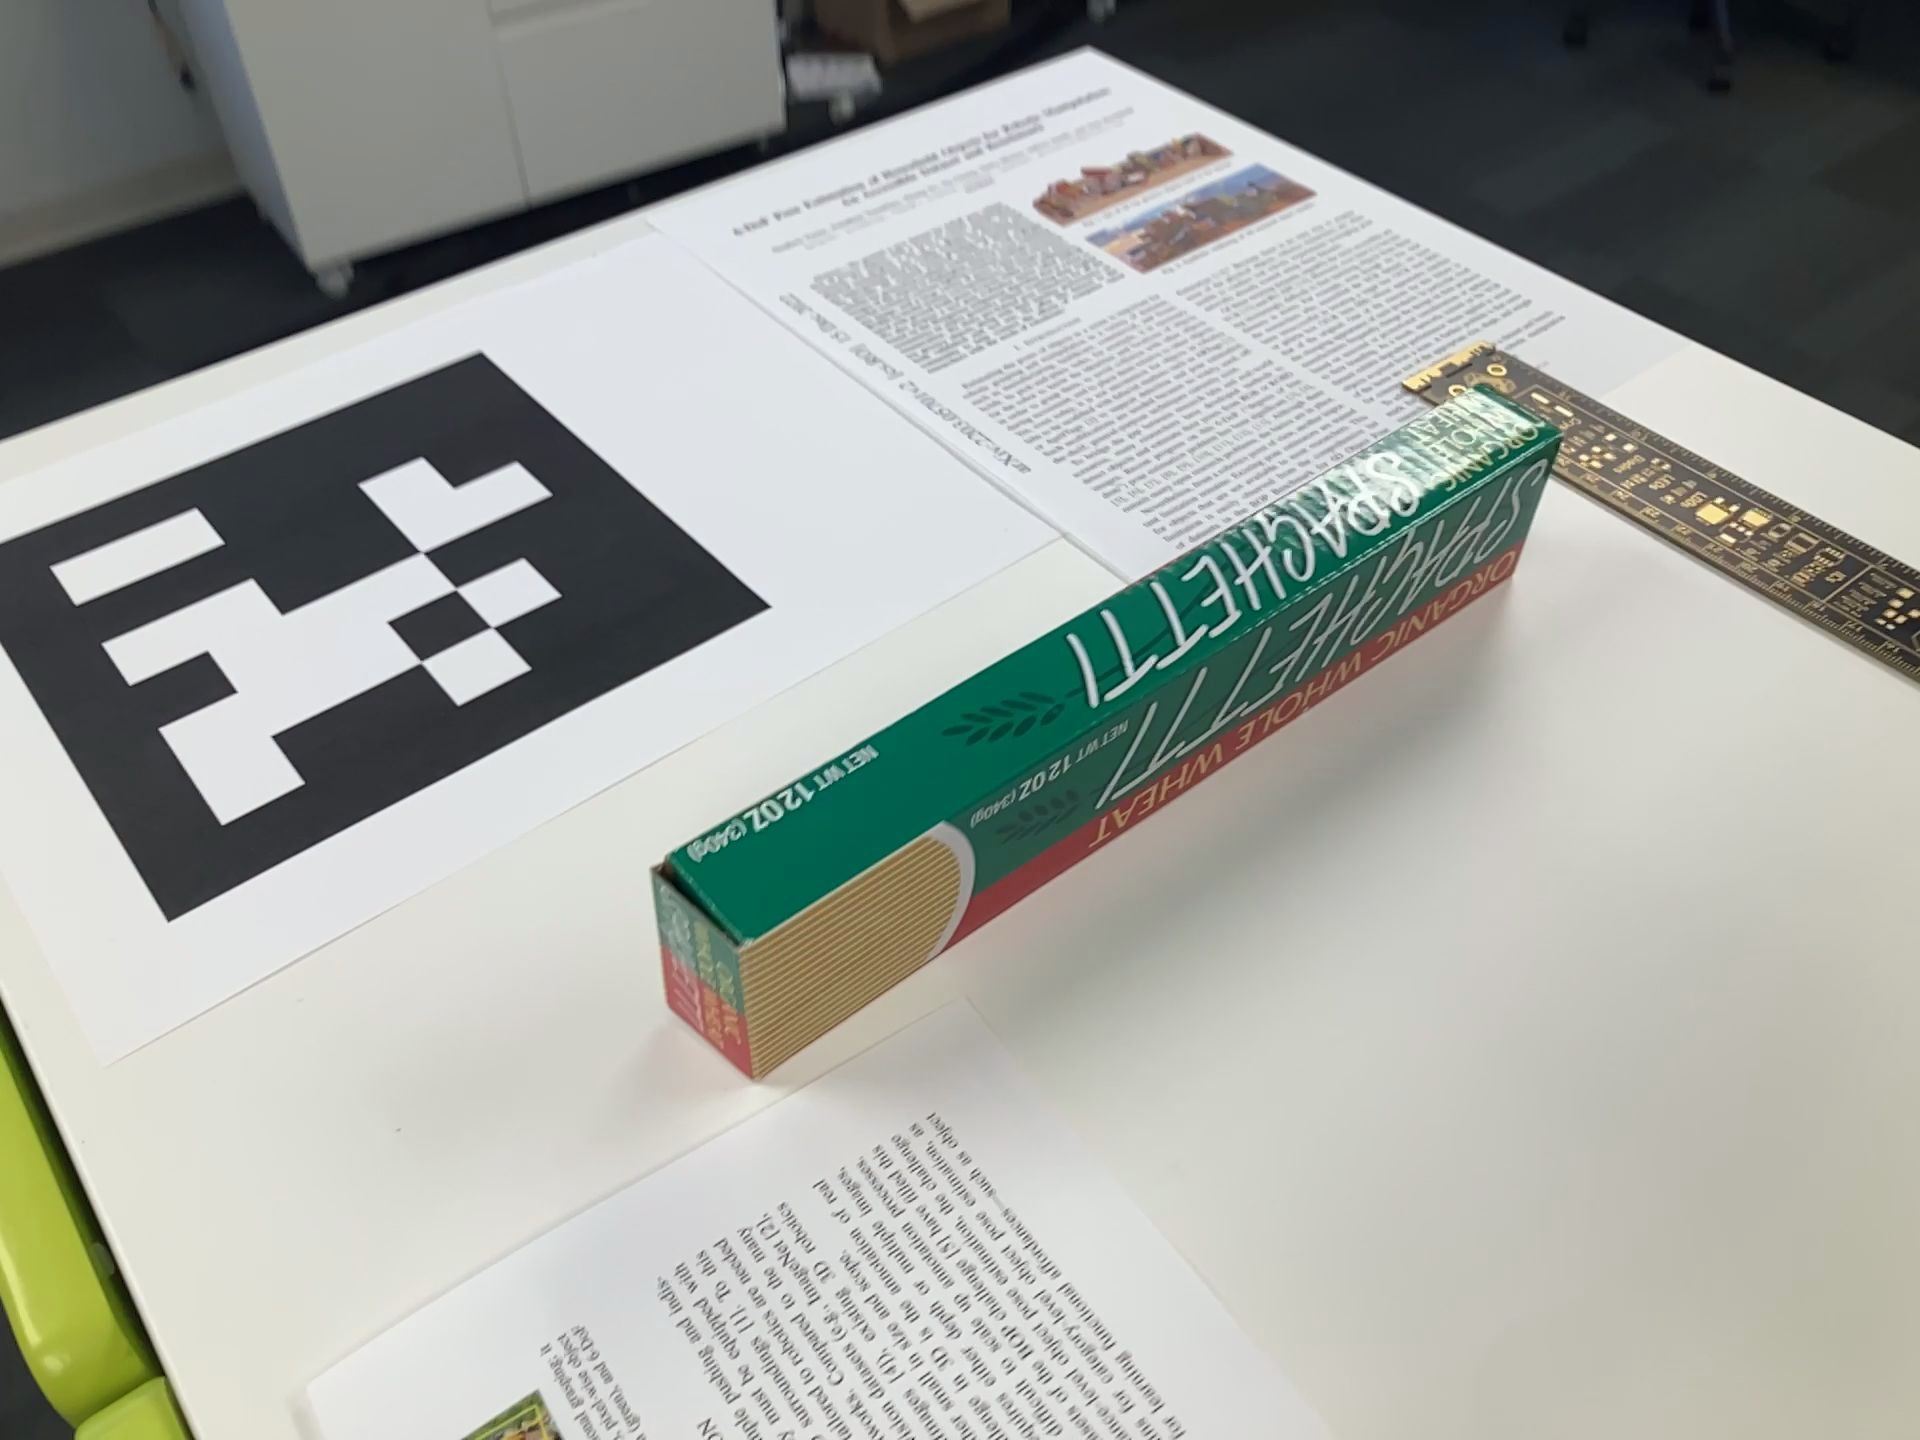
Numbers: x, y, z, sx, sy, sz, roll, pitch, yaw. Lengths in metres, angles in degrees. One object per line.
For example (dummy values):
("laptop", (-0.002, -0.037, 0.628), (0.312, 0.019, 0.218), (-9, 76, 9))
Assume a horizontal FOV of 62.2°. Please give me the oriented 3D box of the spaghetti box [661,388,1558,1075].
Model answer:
("spaghetti box", (0.046, -0.007, 0.366), (0.250, 0.050, 0.028), (-30, 57, -26))
